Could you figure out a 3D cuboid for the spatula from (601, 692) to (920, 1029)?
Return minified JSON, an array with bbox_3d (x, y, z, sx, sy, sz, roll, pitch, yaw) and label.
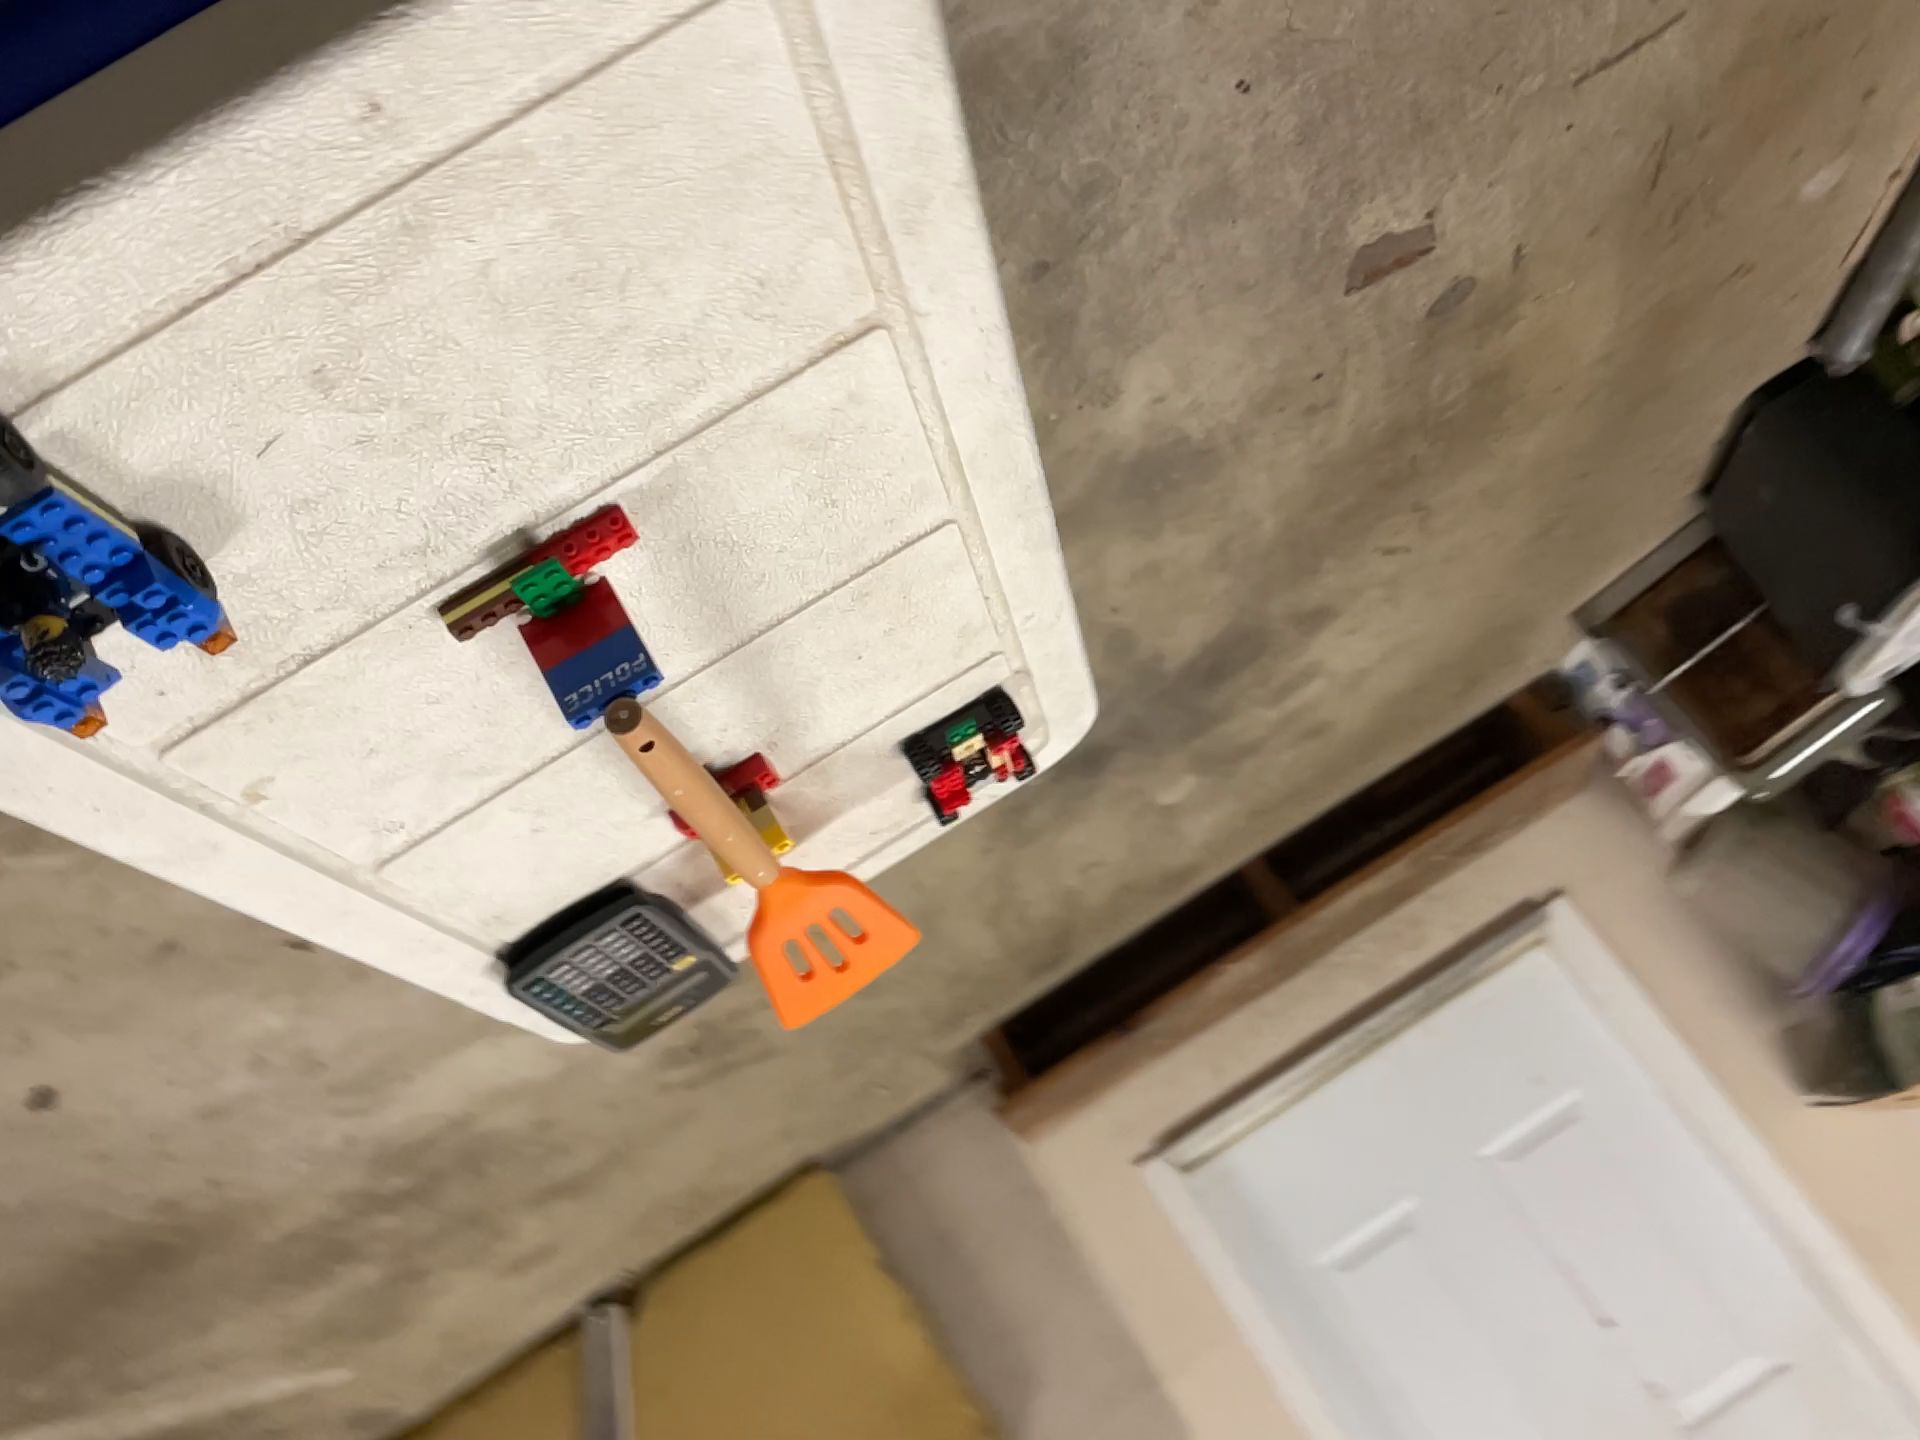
[{"bbox_3d":[-0.080,0.059,0.633,0.081,0.041,0.322,-34,159,-6],"label":"spatula"}]
